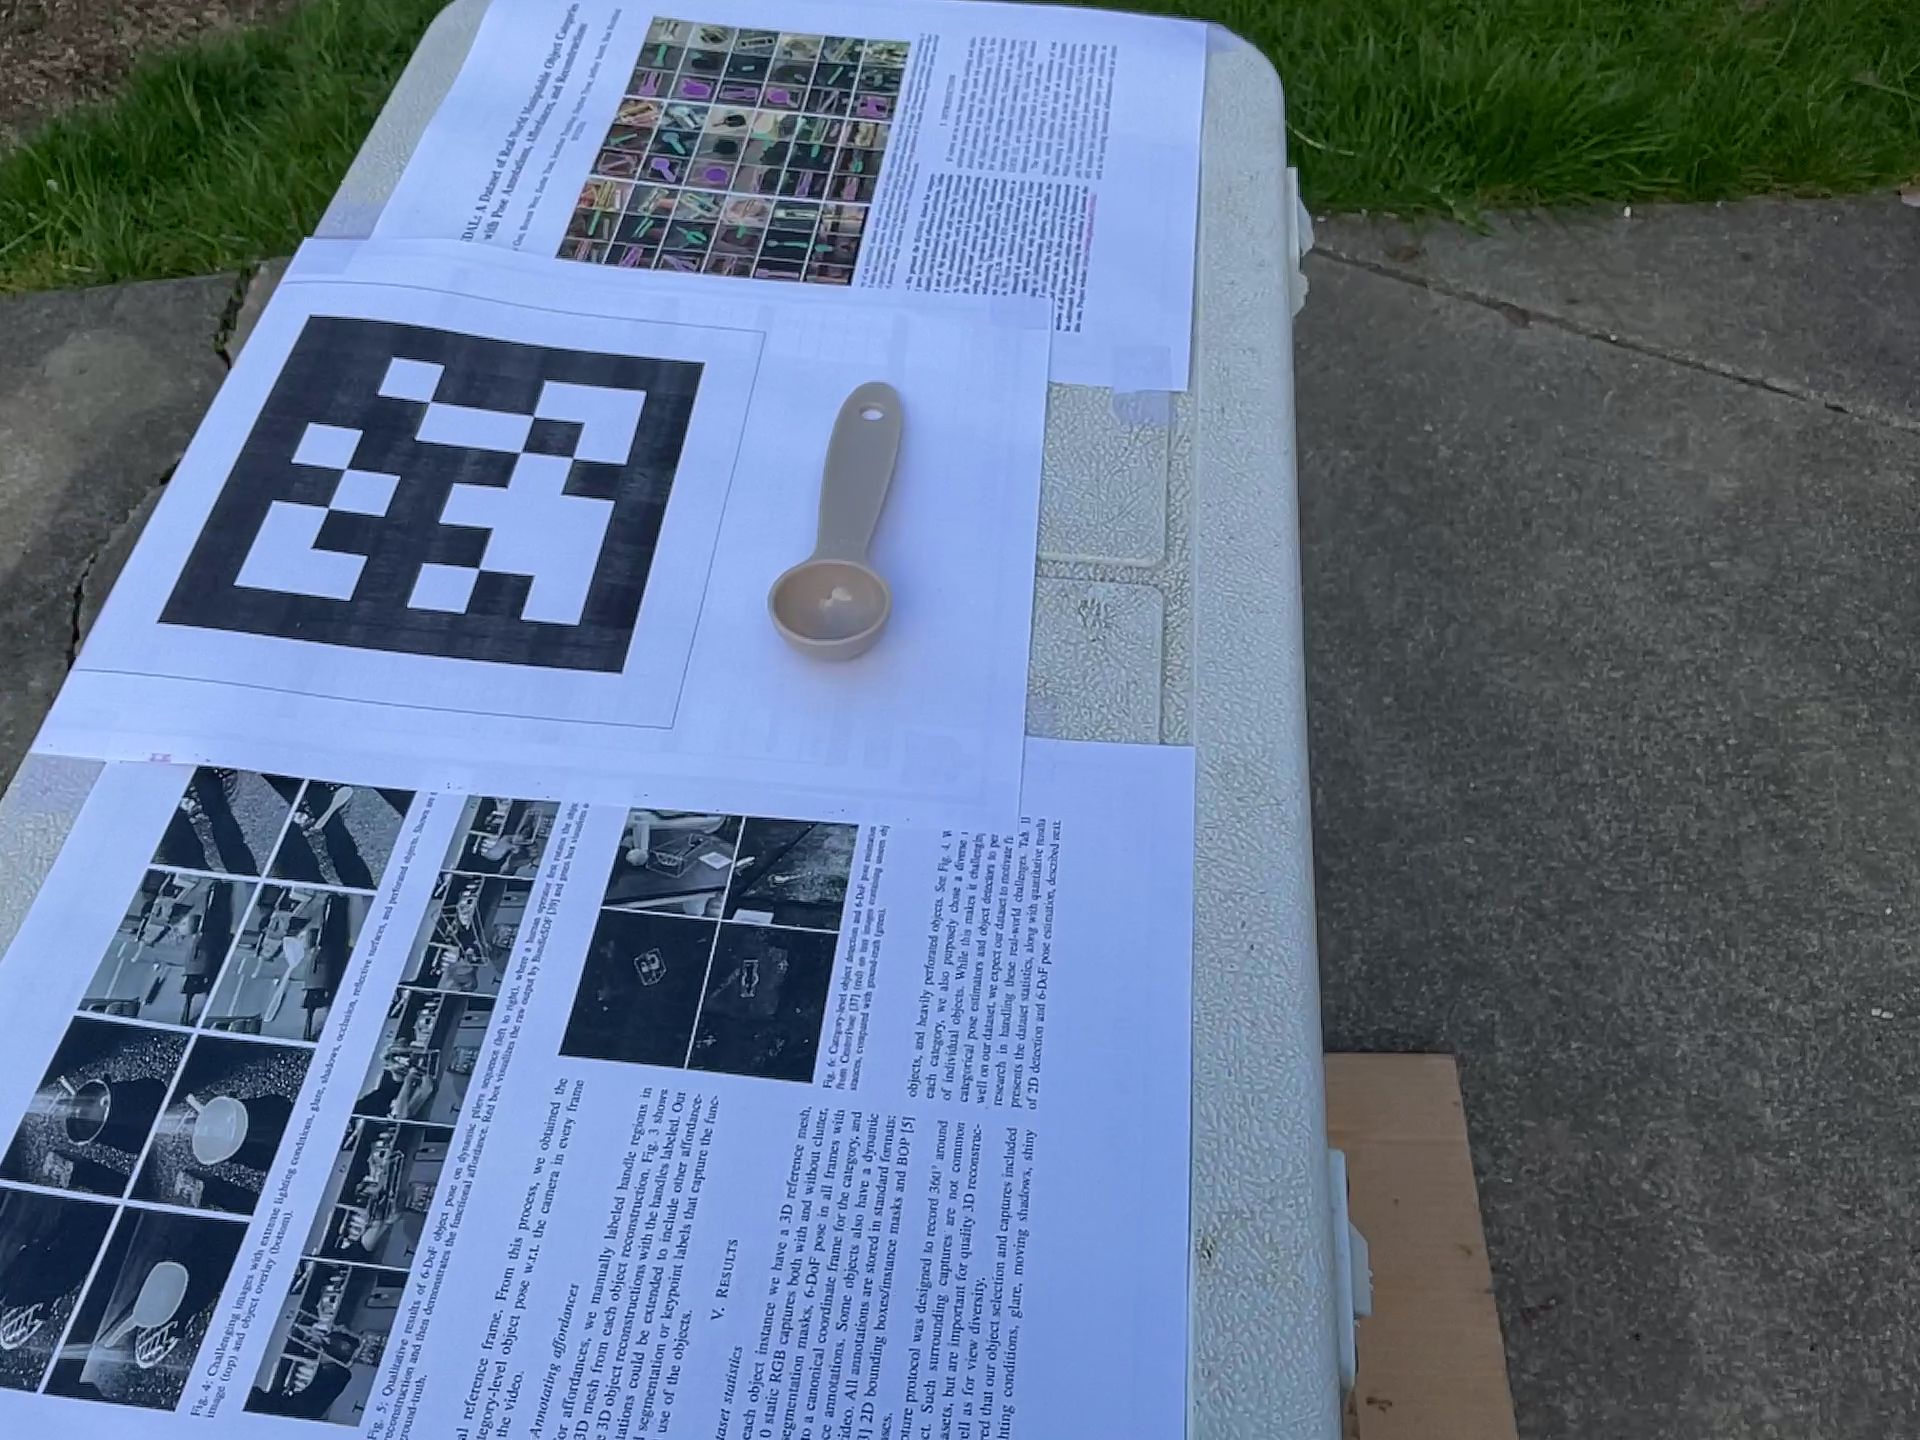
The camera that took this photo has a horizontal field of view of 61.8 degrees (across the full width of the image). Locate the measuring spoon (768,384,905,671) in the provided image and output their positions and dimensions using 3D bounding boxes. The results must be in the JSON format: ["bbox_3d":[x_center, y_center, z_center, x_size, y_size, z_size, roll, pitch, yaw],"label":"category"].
[{"bbox_3d":[-0.030,-0.057,0.464,0.034,0.018,0.124,4,46,3],"label":"measuring spoon"}]
